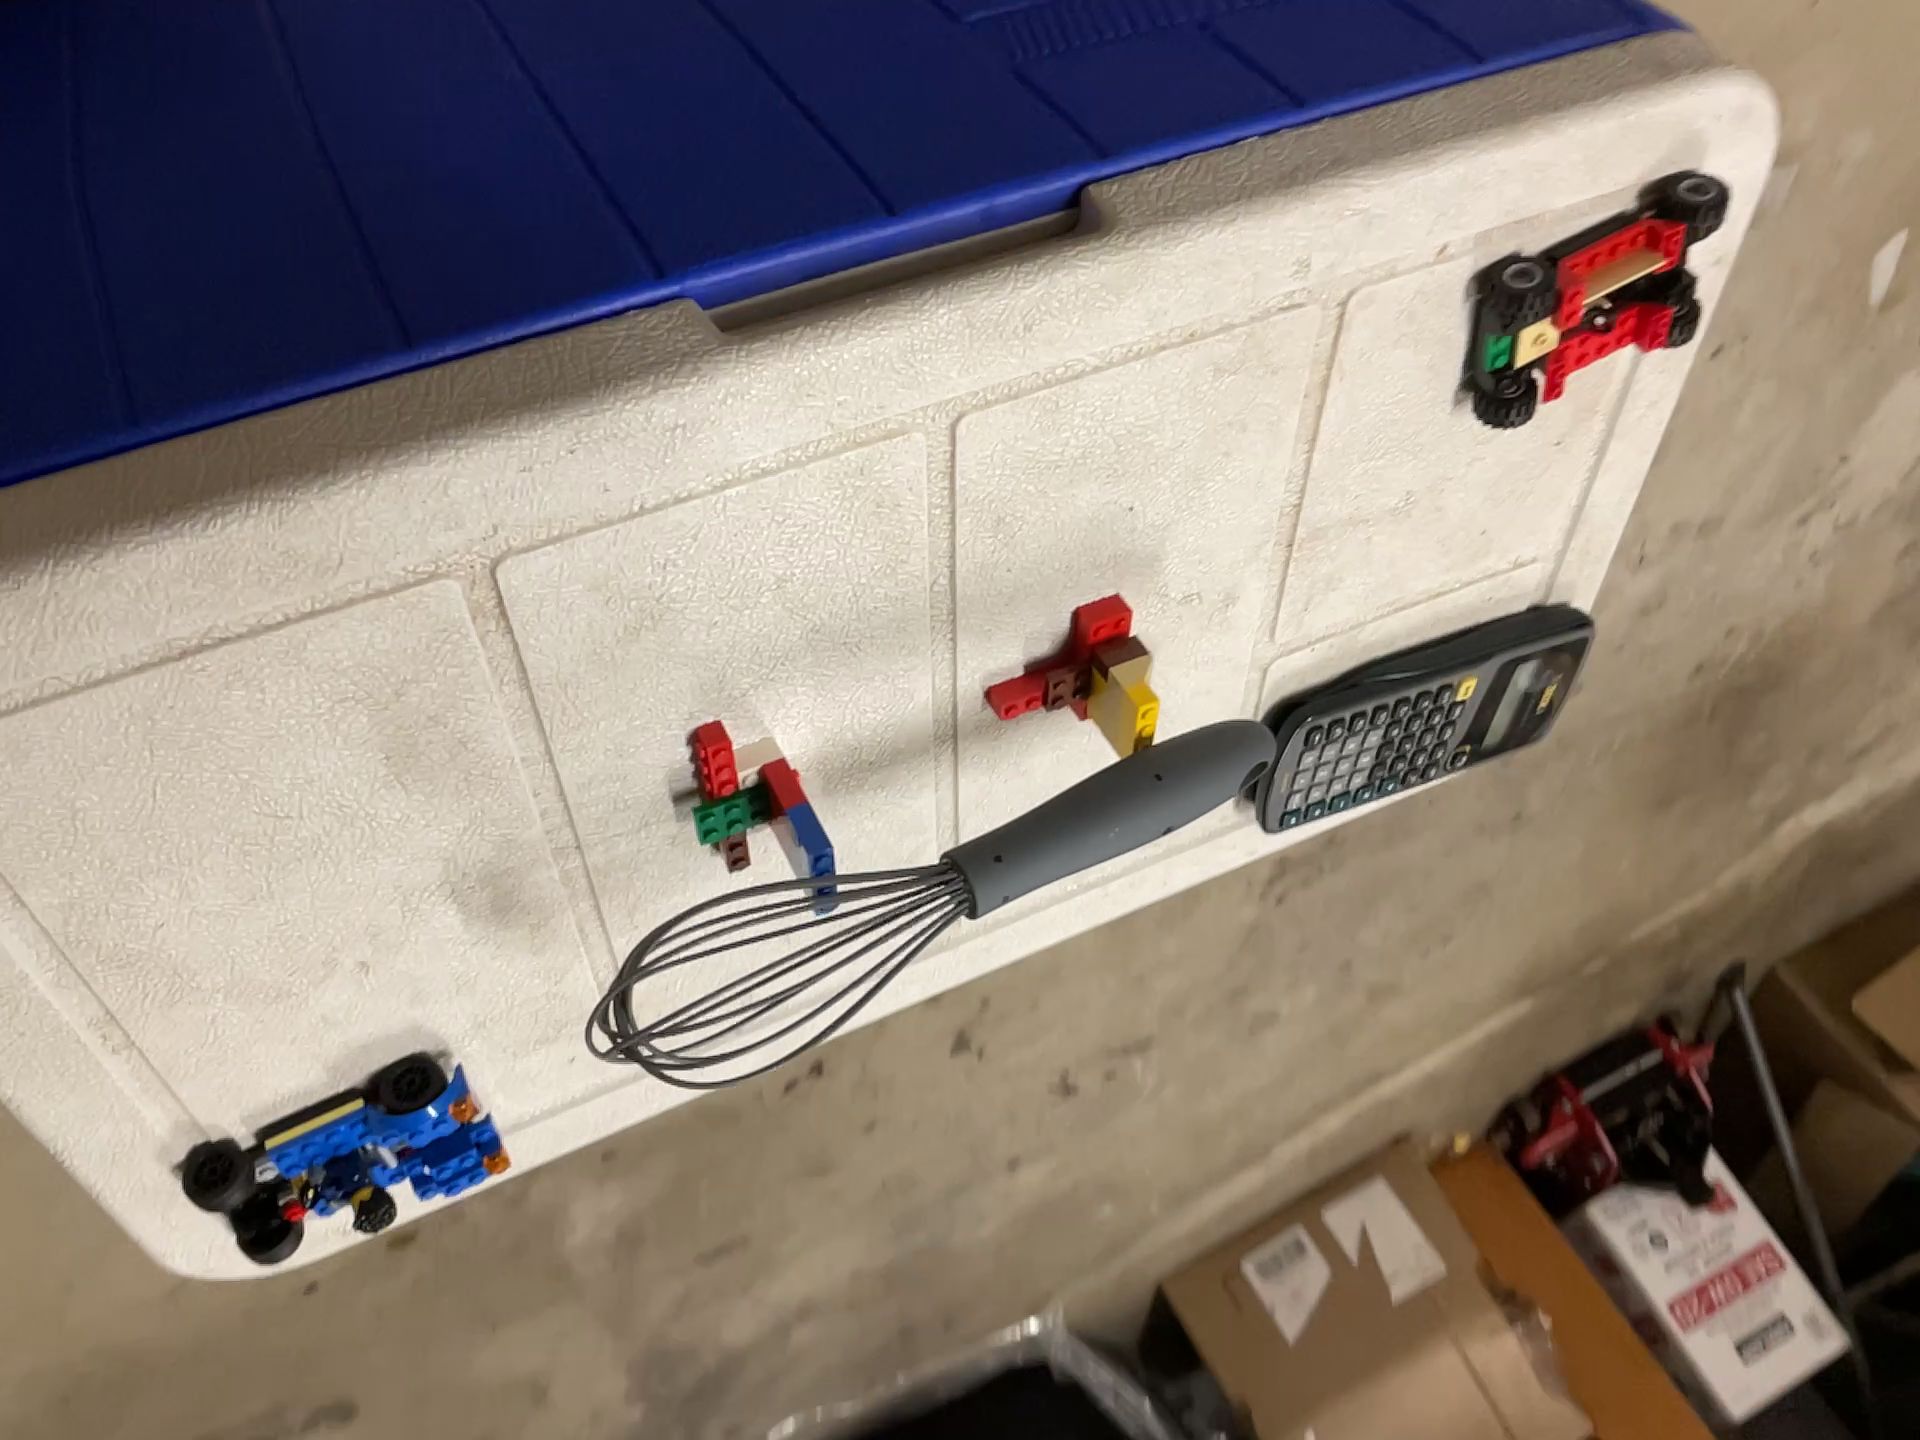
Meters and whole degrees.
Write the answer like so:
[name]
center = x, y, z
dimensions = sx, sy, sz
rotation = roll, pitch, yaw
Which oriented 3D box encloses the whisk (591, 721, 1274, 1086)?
[whisk]
center = -0.001, 0.049, 0.487
dimensions = 0.239, 0.055, 0.055
rotation = -22, 145, -22
